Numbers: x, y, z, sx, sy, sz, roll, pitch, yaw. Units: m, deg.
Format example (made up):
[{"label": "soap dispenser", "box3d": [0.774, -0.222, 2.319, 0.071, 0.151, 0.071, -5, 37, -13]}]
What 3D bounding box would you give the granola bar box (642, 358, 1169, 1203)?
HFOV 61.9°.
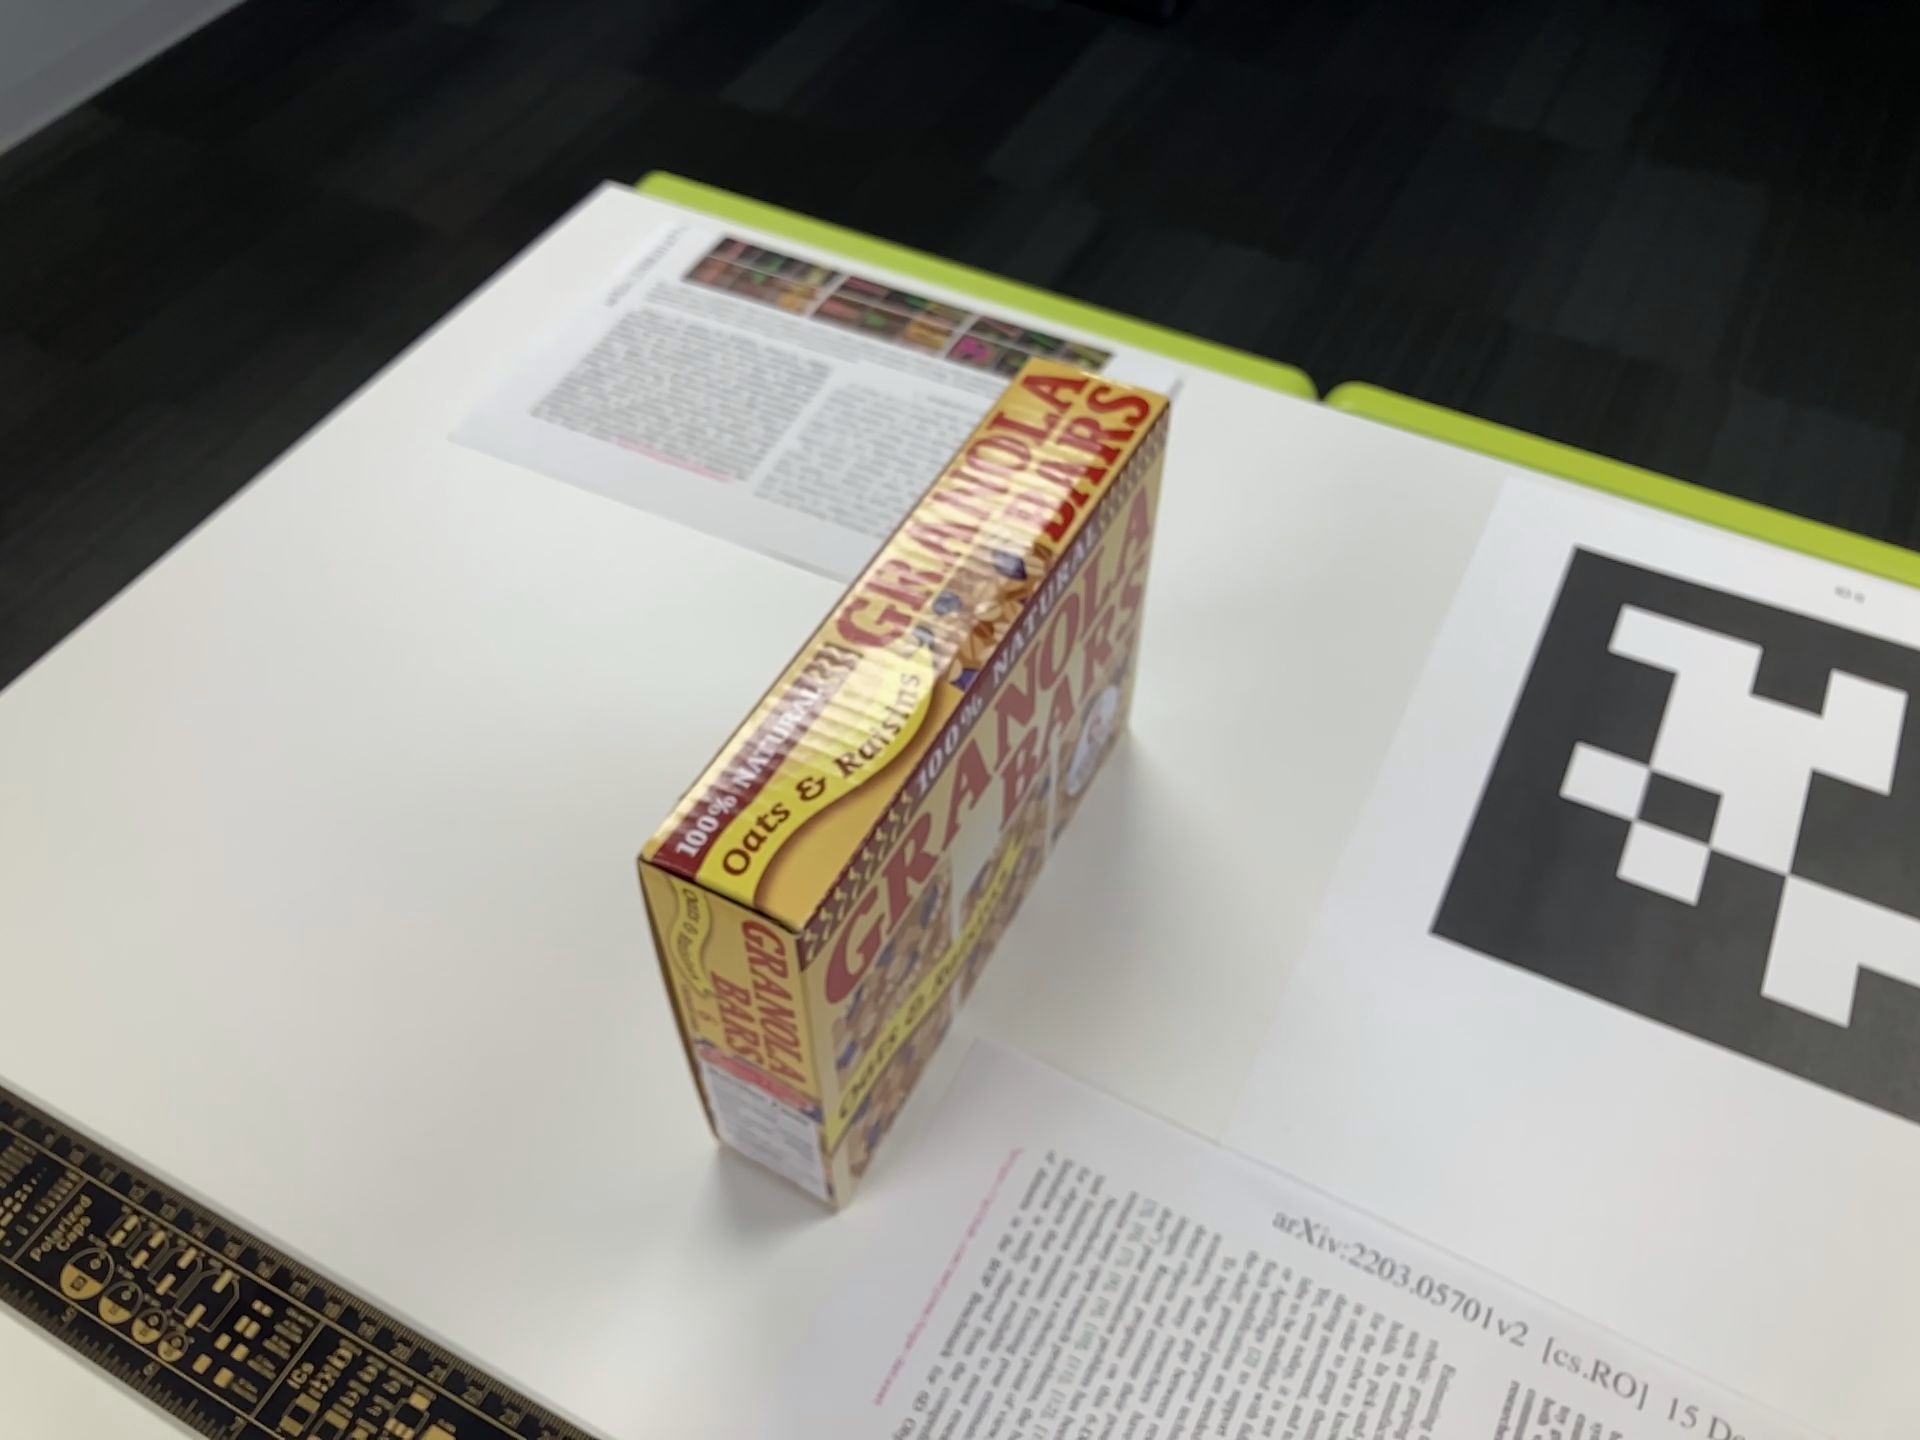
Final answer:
[{"label": "granola bar box", "box3d": [-0.006, 0.013, 0.382, 0.039, 0.124, 0.165, 22, 55, 17]}]
